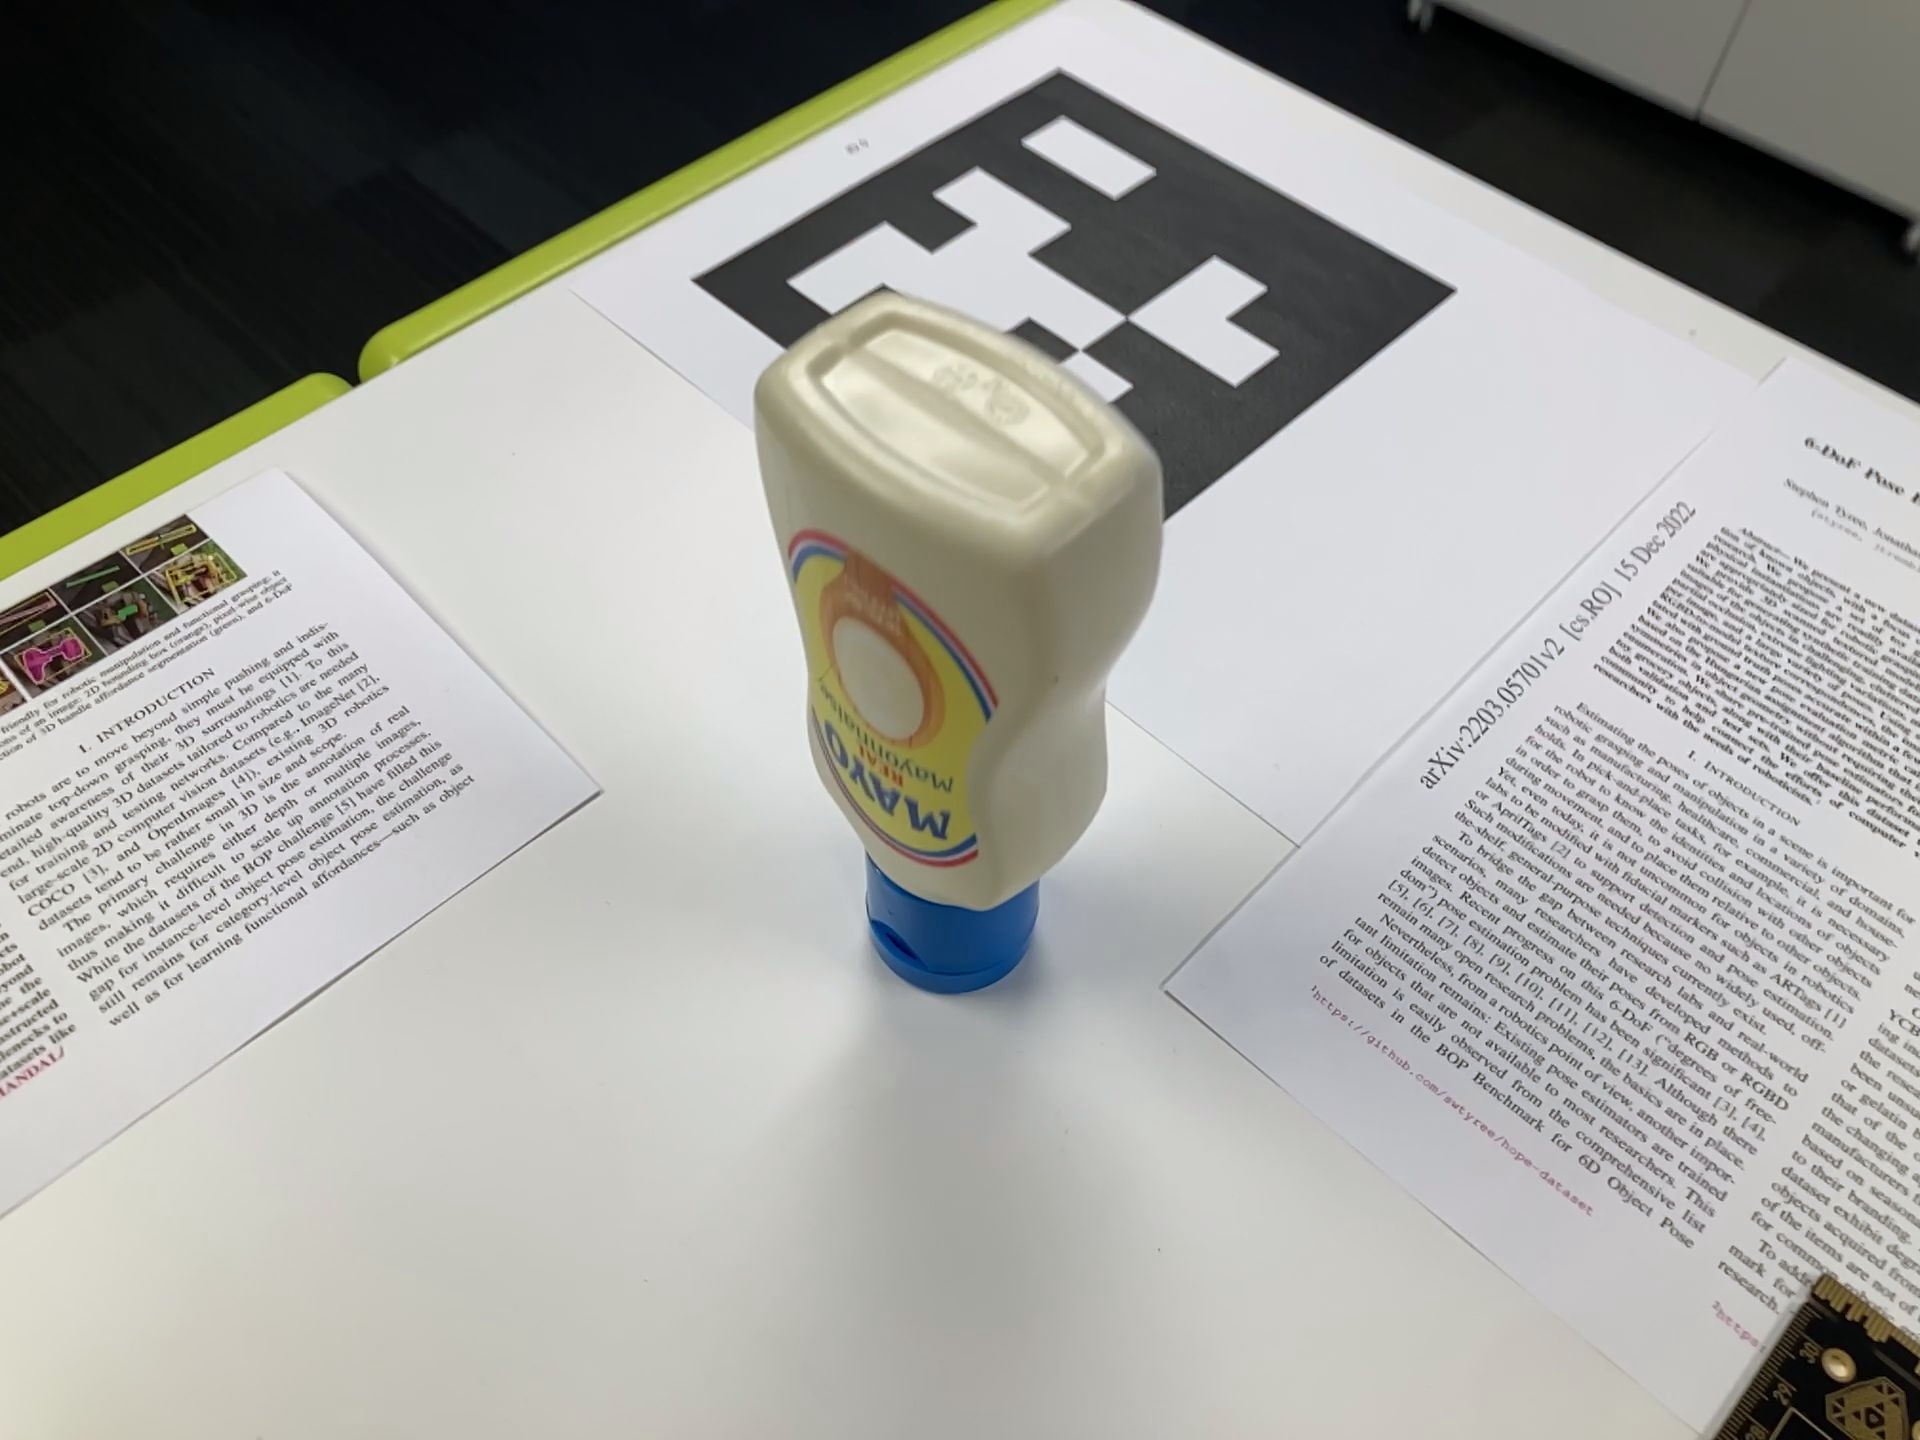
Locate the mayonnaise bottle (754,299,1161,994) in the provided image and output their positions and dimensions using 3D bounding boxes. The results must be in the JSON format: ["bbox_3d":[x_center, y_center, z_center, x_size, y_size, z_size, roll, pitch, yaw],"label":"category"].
[{"bbox_3d":[-0.001,0.000,0.284,0.065,0.148,0.041,37,61,24],"label":"mayonnaise bottle"}]
